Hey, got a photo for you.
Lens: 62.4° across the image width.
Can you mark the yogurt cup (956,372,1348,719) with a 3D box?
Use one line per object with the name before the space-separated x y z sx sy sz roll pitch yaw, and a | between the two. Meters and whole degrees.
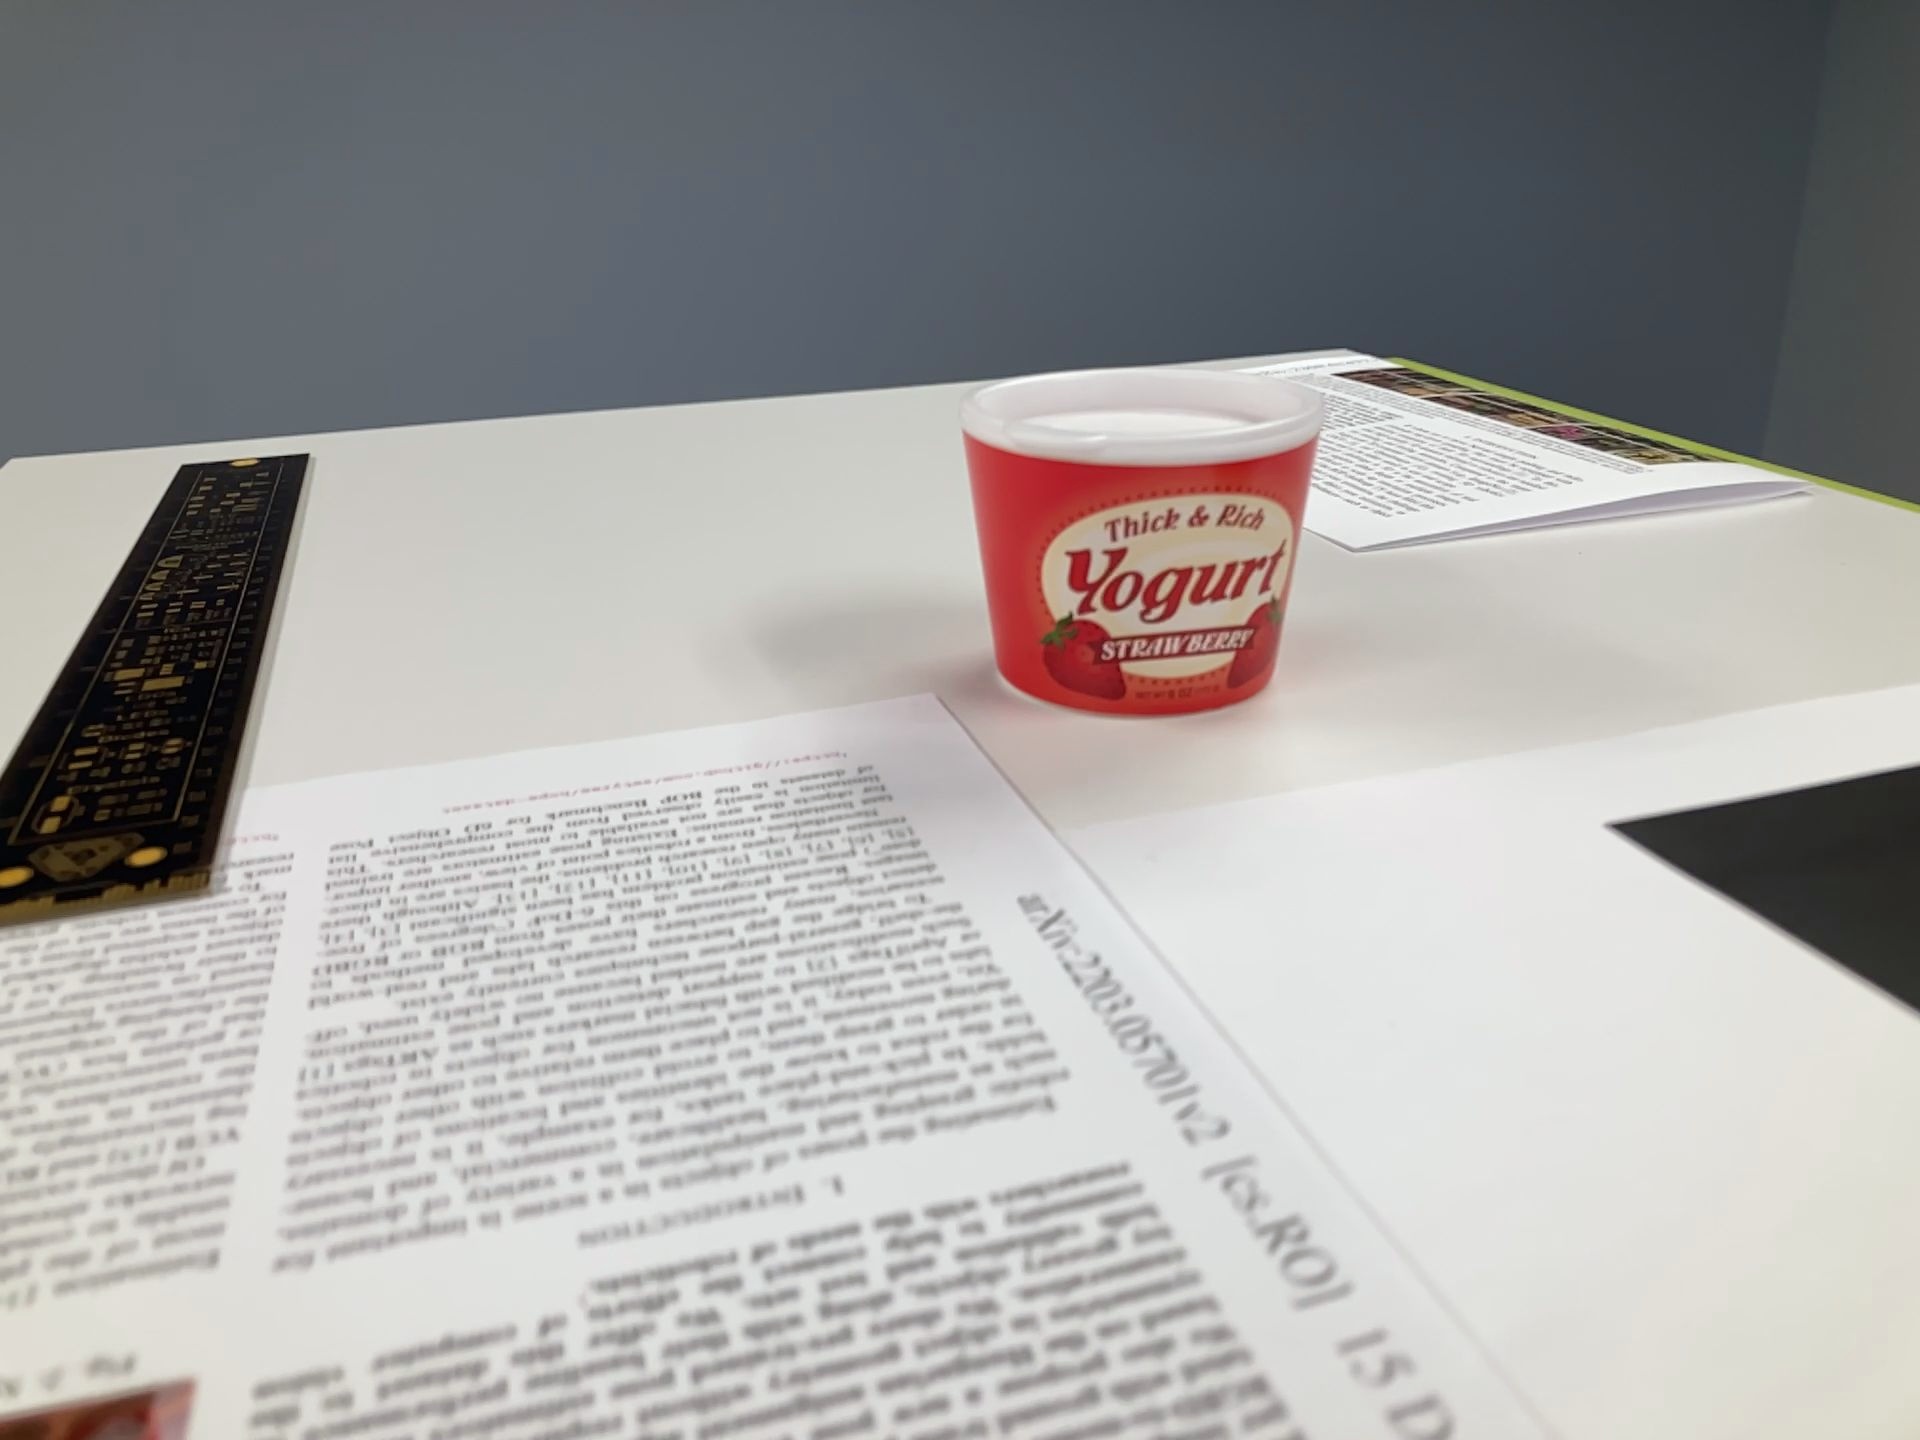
yogurt cup | 0.034 -0.034 0.299 0.072 0.054 0.072 -1 21 0
